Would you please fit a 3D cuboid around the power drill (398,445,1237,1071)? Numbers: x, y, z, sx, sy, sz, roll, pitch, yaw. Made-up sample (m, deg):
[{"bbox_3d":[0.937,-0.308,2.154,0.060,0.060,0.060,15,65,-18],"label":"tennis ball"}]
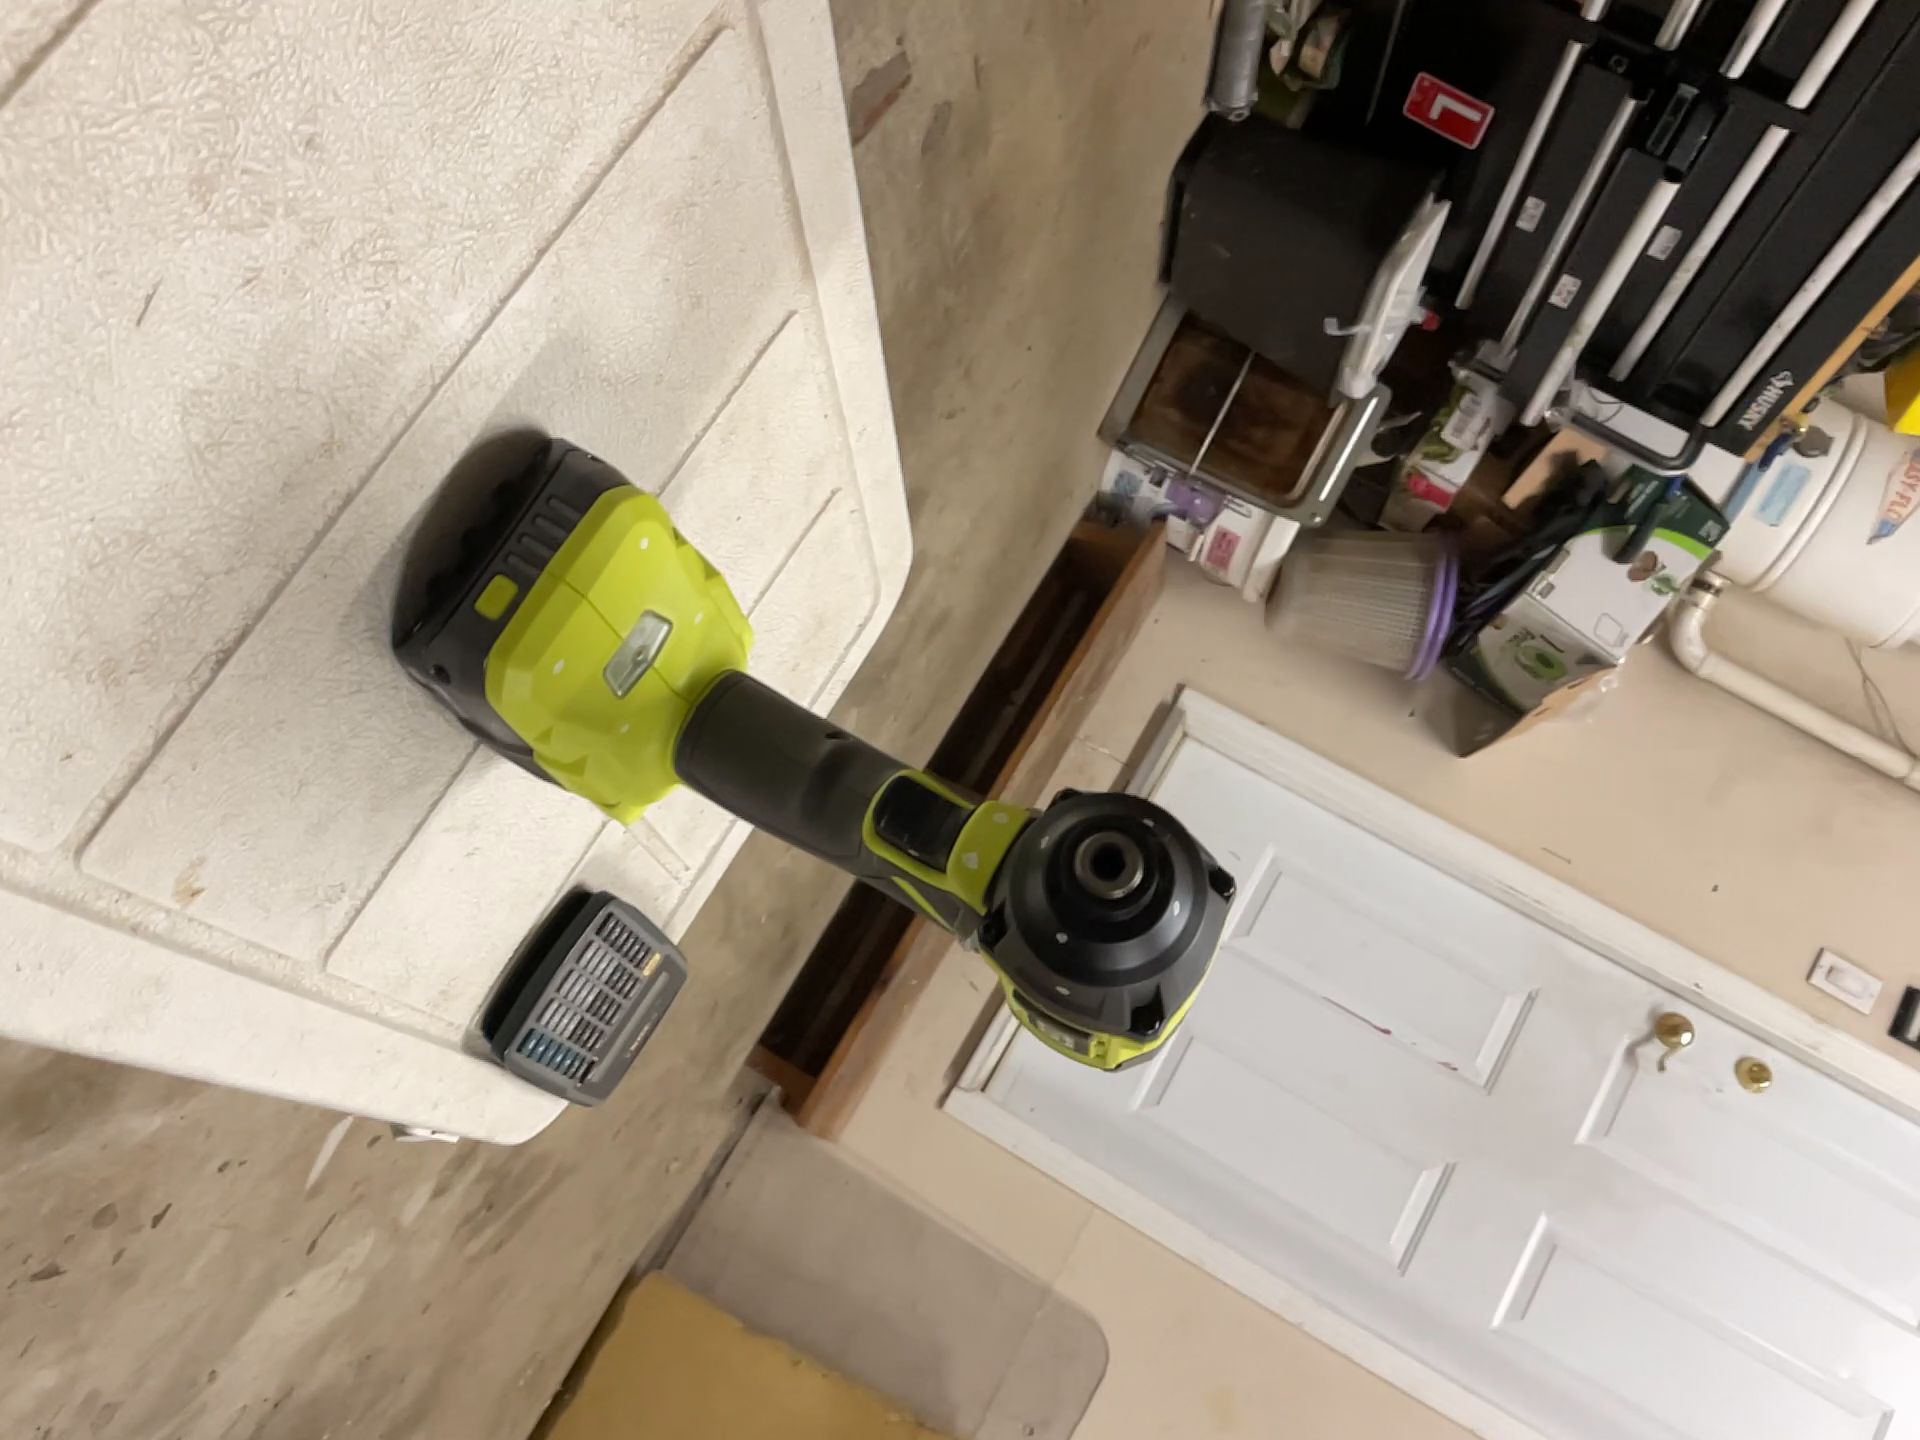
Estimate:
[{"bbox_3d":[-0.032,0.017,0.443,0.080,0.223,0.171,-59,168,-13],"label":"power drill"}]
